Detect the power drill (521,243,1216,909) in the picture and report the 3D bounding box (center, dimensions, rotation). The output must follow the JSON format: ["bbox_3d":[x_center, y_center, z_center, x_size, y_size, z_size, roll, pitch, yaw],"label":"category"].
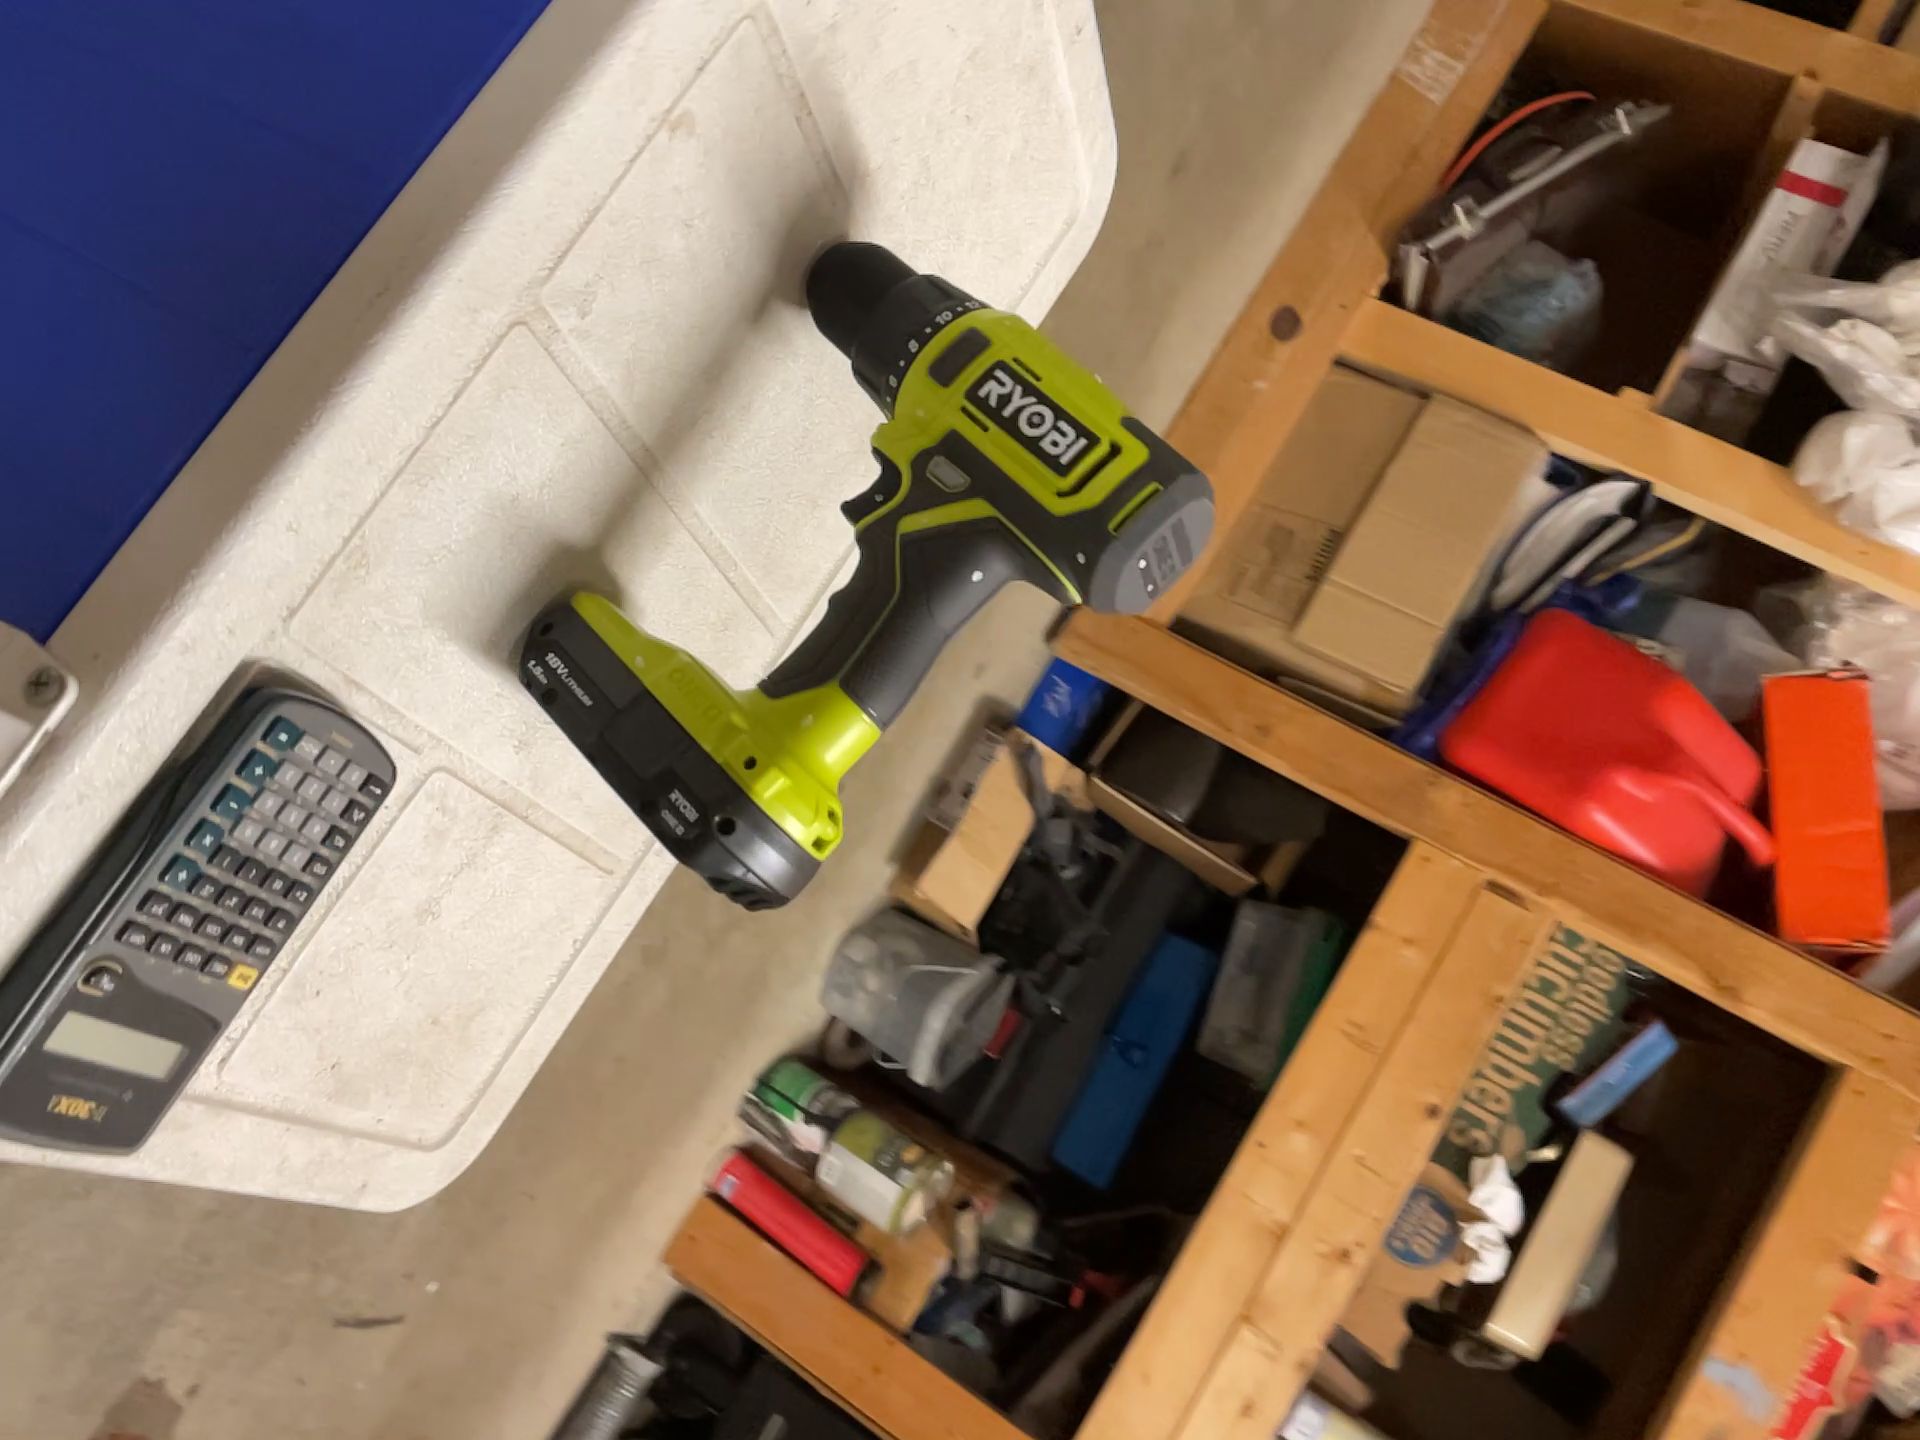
[{"bbox_3d":[-0.046,-0.063,0.597,0.228,0.190,0.080,-44,157,-4],"label":"power drill"}]
